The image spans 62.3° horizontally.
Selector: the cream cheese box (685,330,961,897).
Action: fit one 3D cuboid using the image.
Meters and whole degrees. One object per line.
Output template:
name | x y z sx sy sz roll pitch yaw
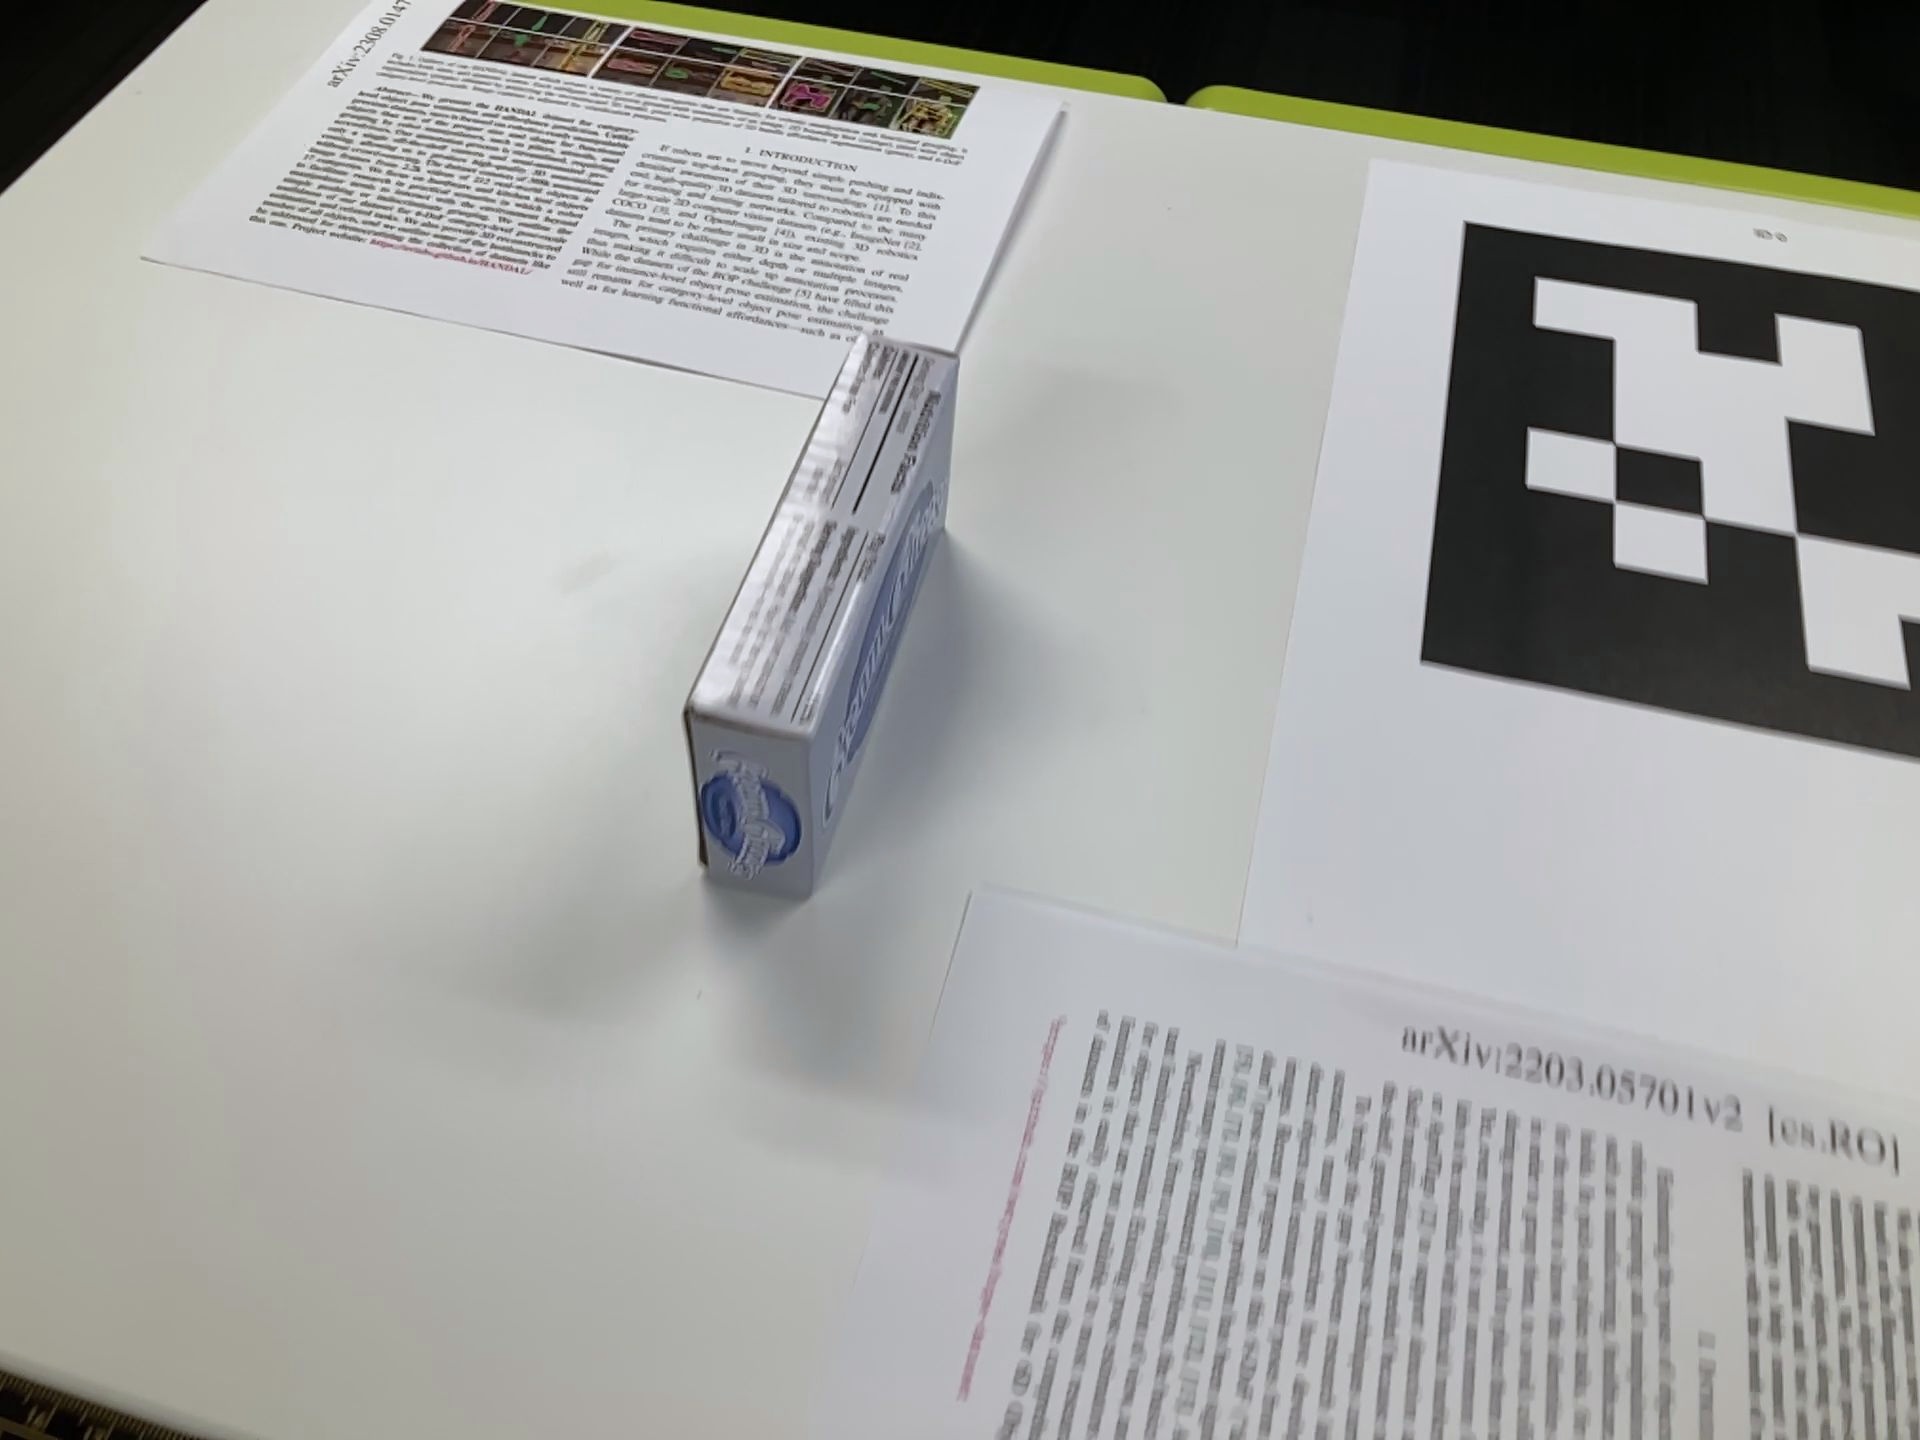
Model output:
cream cheese box | -0.025 -0.023 0.313 0.024 0.053 0.104 13 54 6
